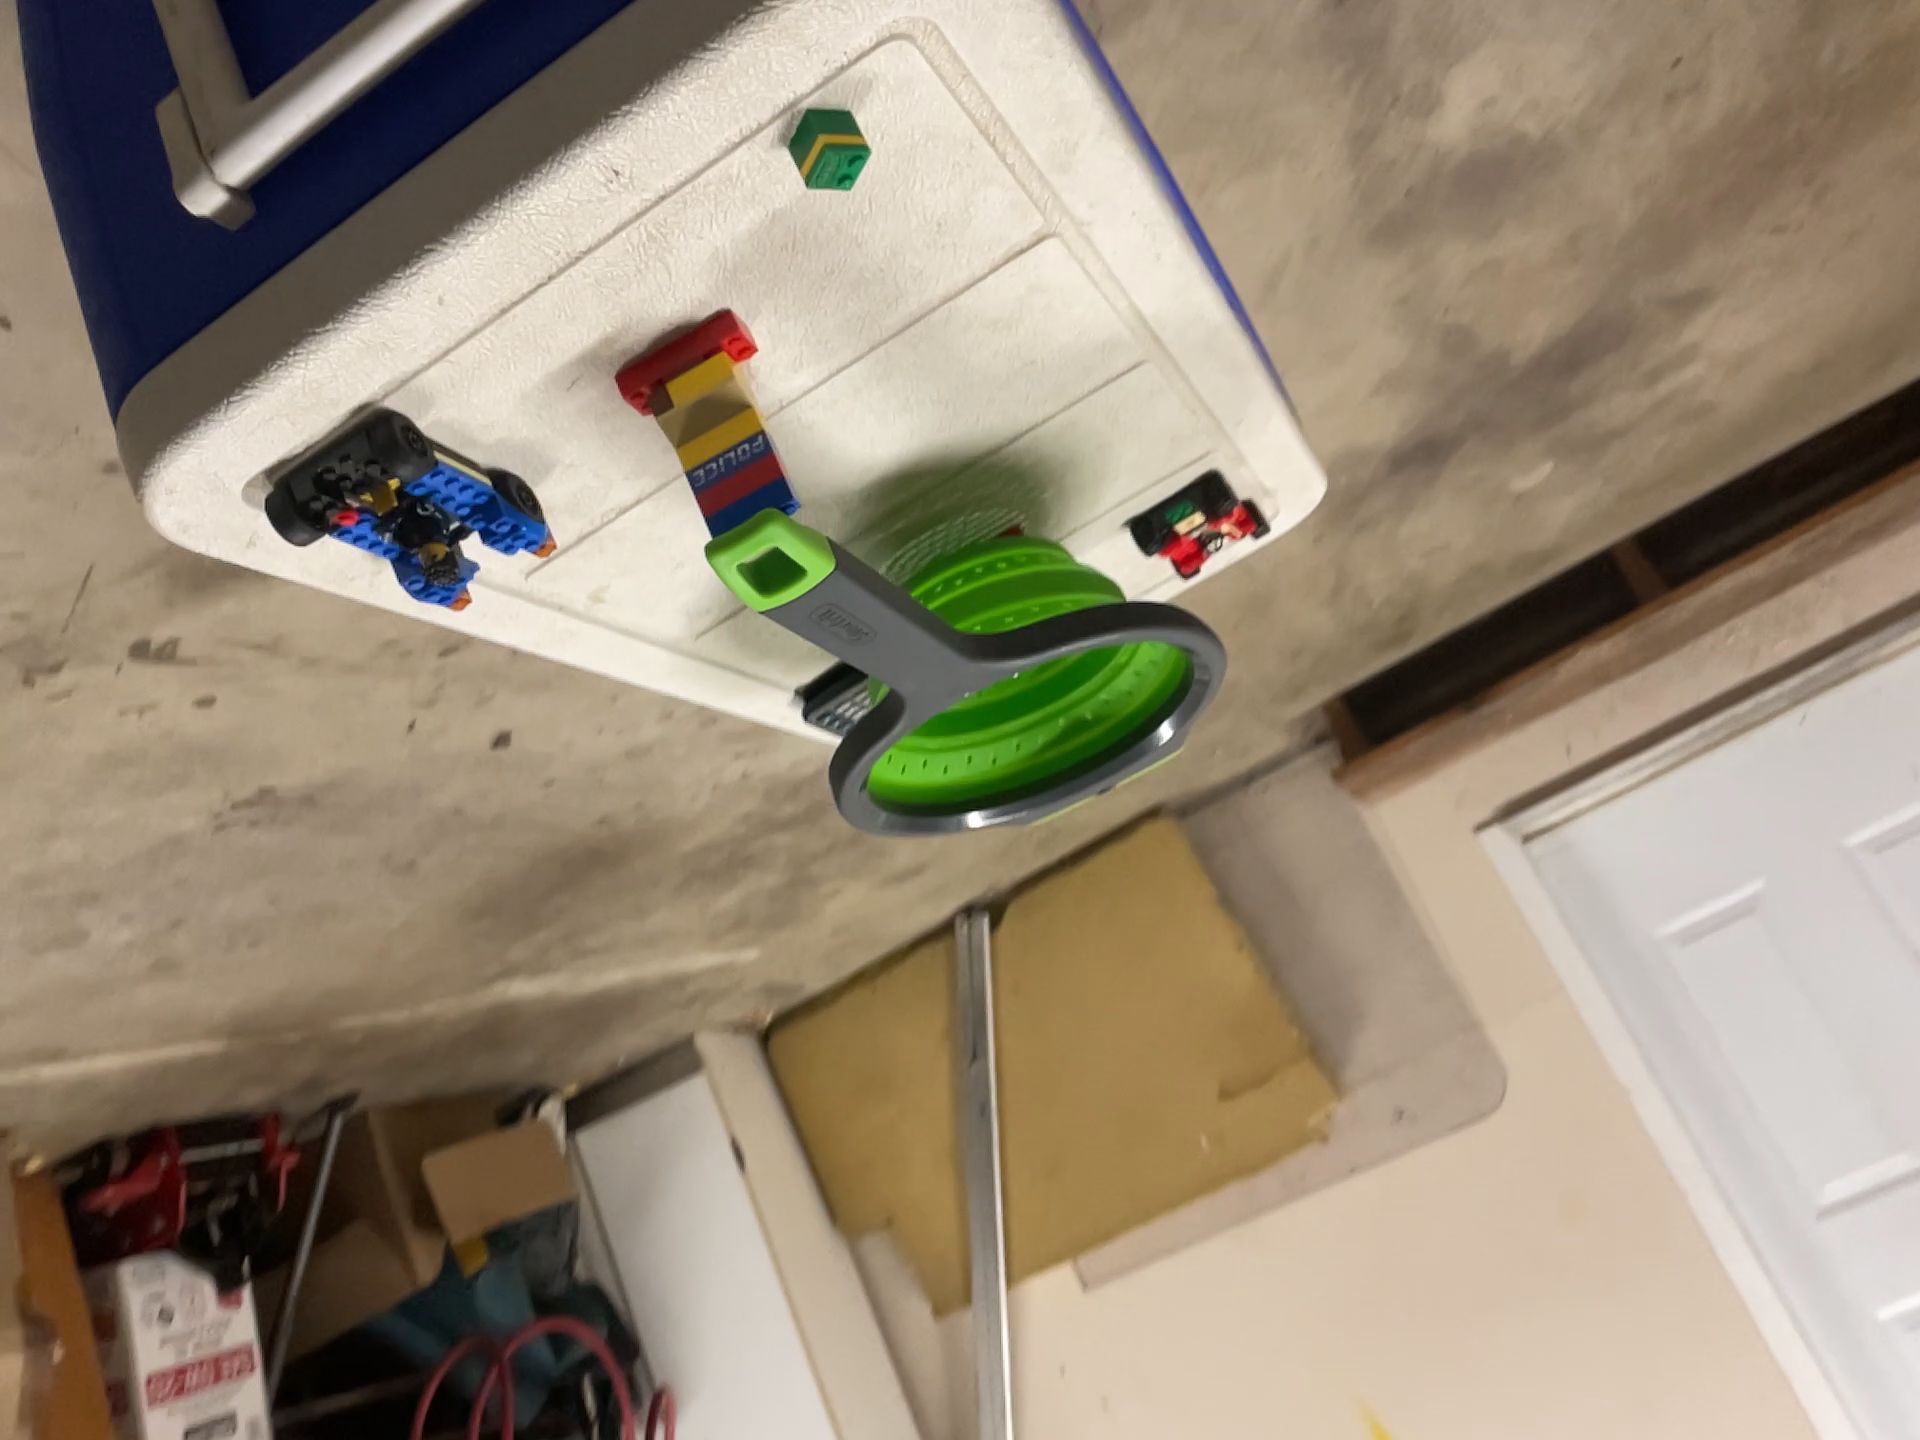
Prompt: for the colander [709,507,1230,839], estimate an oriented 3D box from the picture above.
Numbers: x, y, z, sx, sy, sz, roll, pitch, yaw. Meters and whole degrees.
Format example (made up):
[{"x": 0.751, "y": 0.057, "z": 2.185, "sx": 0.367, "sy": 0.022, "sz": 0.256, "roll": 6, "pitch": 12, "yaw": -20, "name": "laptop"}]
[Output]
[{"x": -0.008, "y": -0.046, "z": 0.725, "sx": 0.204, "sy": 0.094, "sz": 0.397, "roll": -27, "pitch": 157, "yaw": 15, "name": "colander"}]
